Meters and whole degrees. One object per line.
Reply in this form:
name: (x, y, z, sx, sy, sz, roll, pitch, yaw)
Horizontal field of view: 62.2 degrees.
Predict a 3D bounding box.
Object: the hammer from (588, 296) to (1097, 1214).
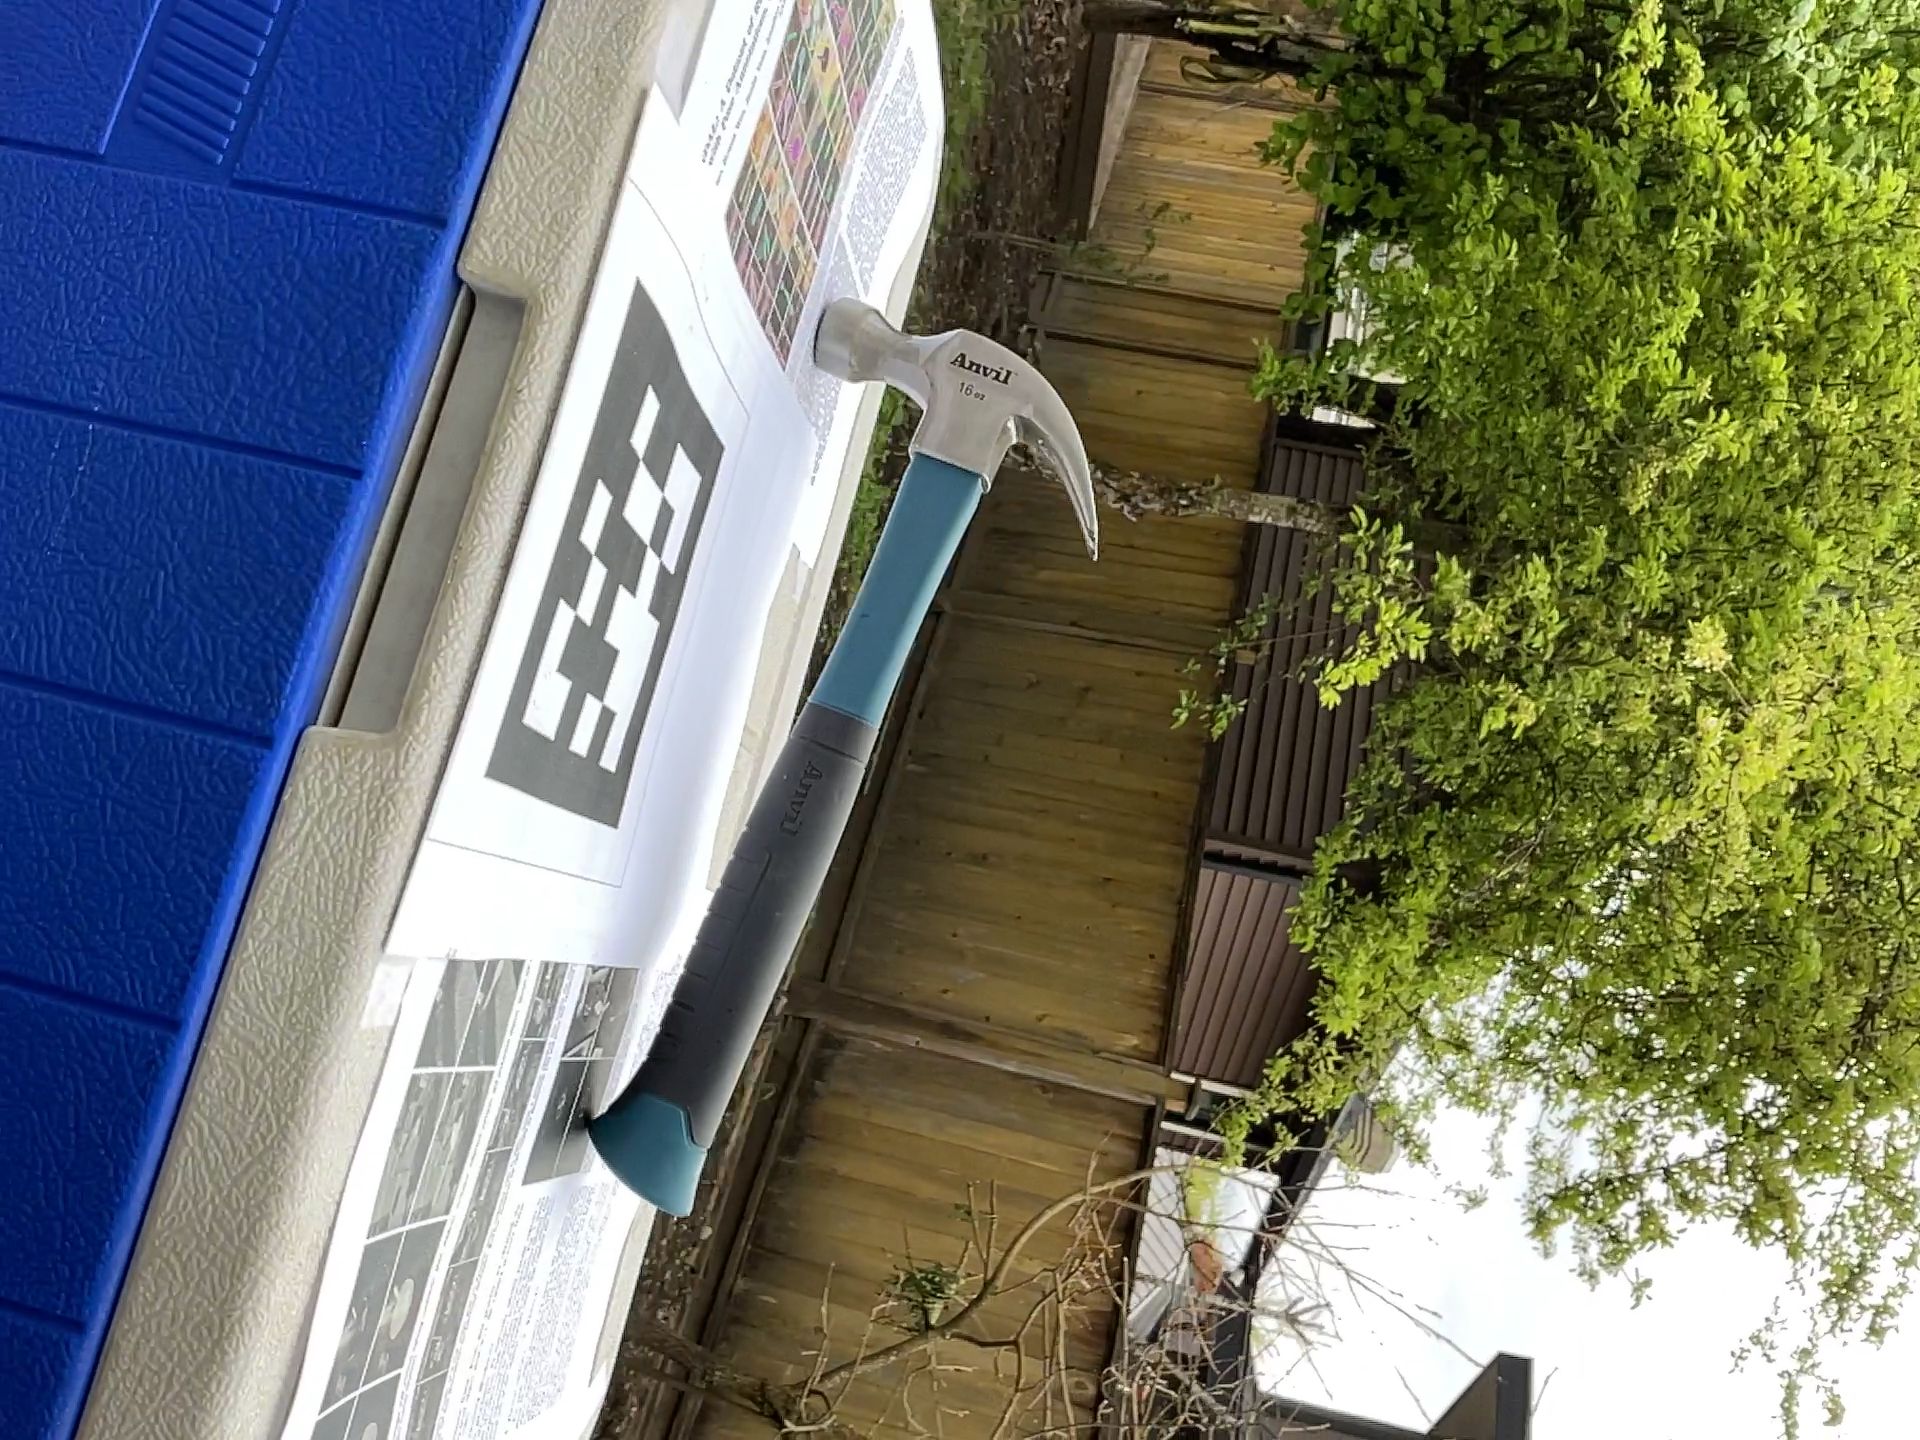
hammer: (-0.050, 0.010, 0.572, 0.033, 0.128, 0.331, 66, 45, -76)
